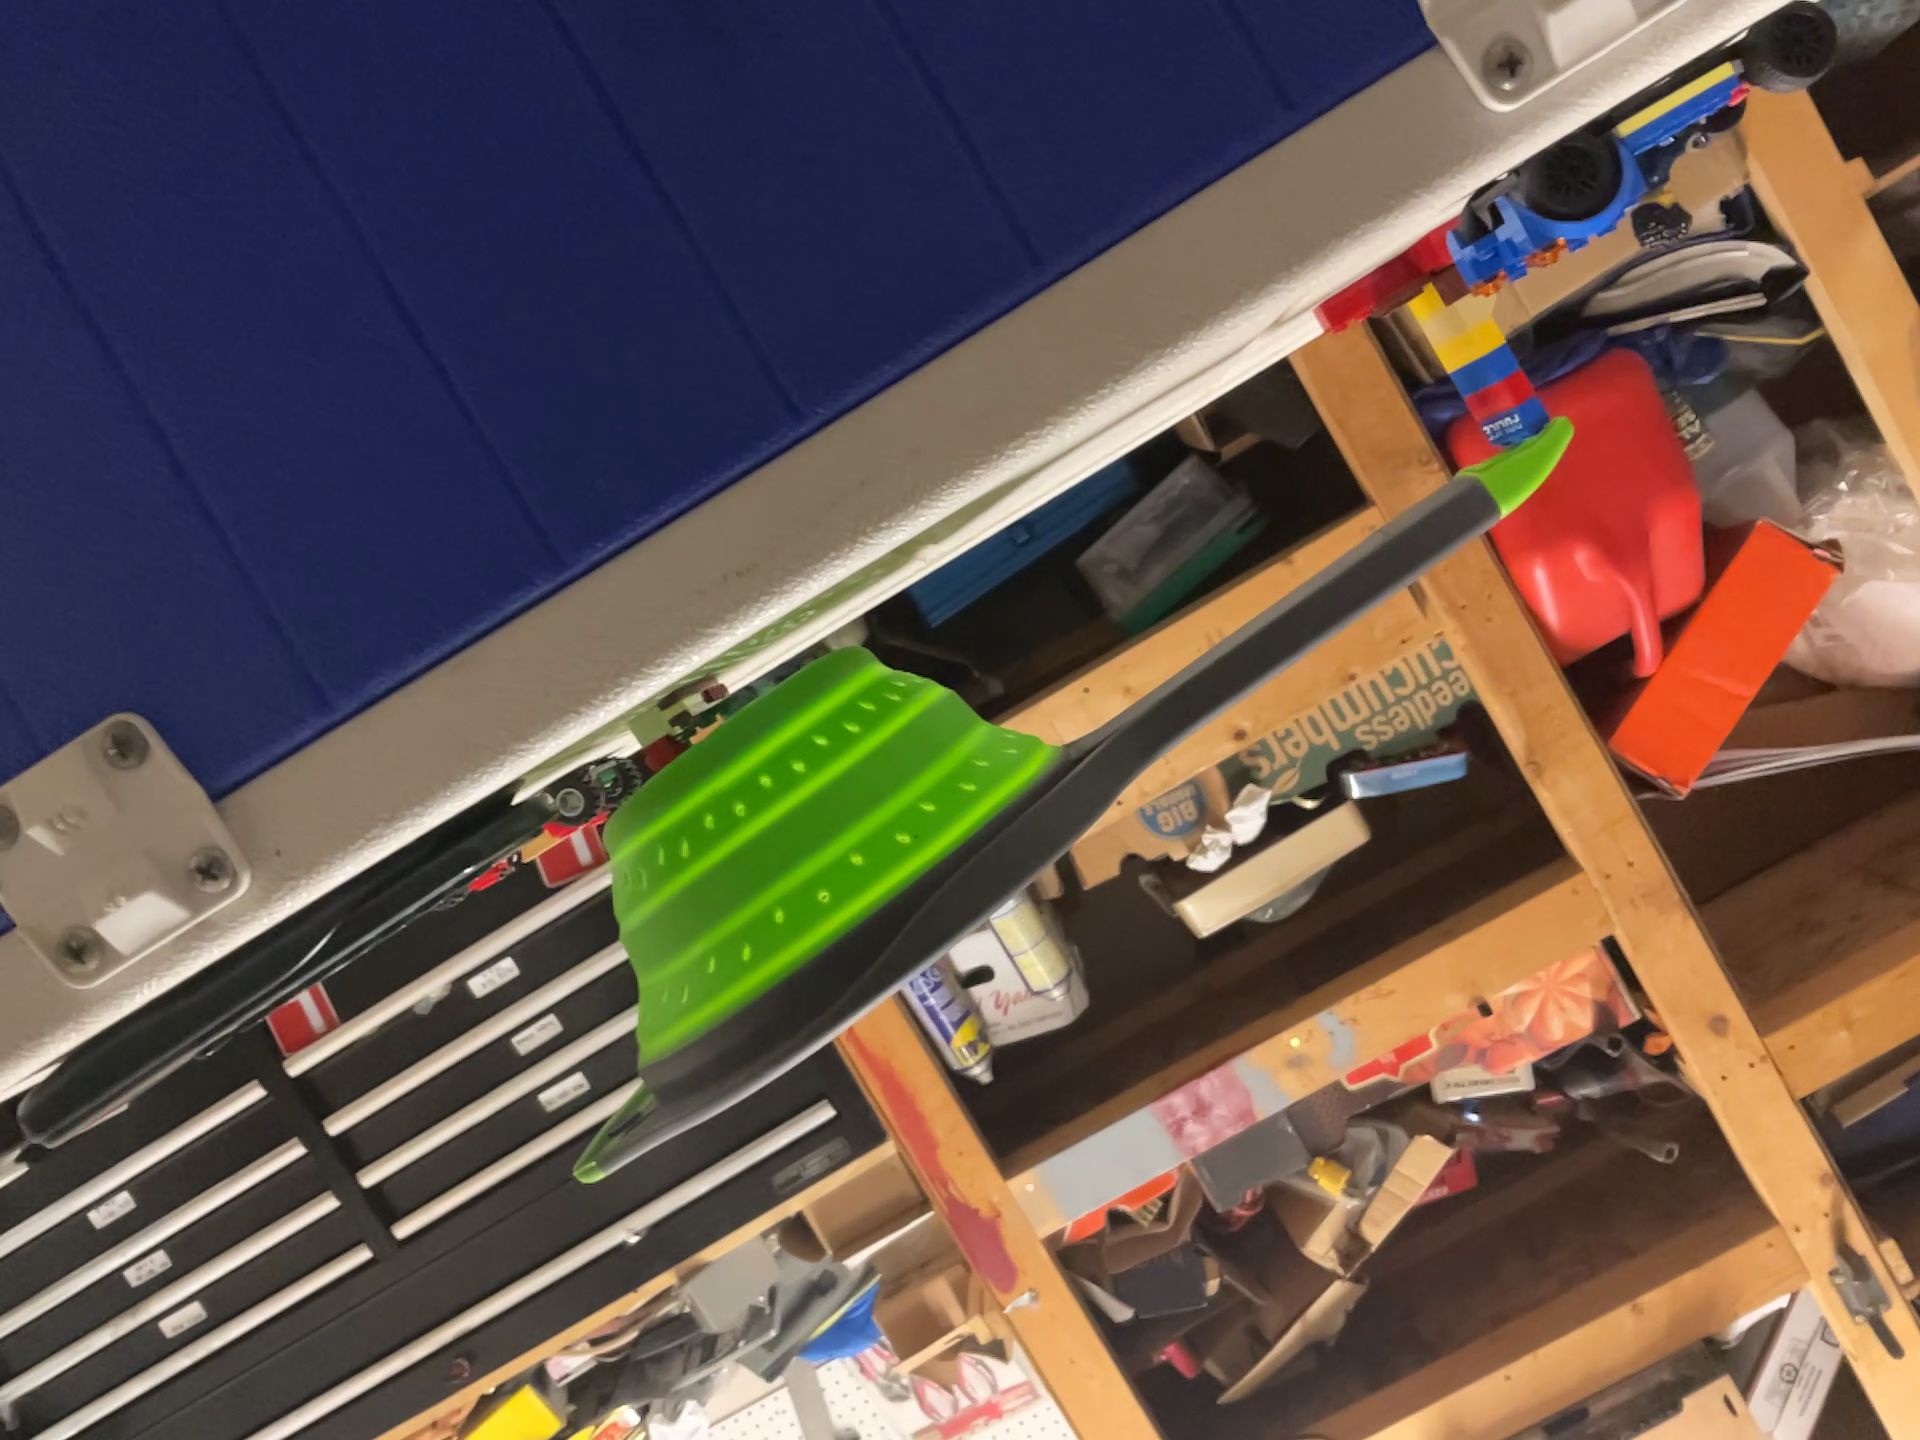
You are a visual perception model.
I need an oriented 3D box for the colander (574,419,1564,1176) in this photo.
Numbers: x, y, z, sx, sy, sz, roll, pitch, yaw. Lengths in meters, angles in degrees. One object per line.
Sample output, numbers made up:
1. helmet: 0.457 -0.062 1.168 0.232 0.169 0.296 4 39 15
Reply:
1. colander: 0.015 -0.007 0.537 0.397 0.094 0.204 -36 -179 3
